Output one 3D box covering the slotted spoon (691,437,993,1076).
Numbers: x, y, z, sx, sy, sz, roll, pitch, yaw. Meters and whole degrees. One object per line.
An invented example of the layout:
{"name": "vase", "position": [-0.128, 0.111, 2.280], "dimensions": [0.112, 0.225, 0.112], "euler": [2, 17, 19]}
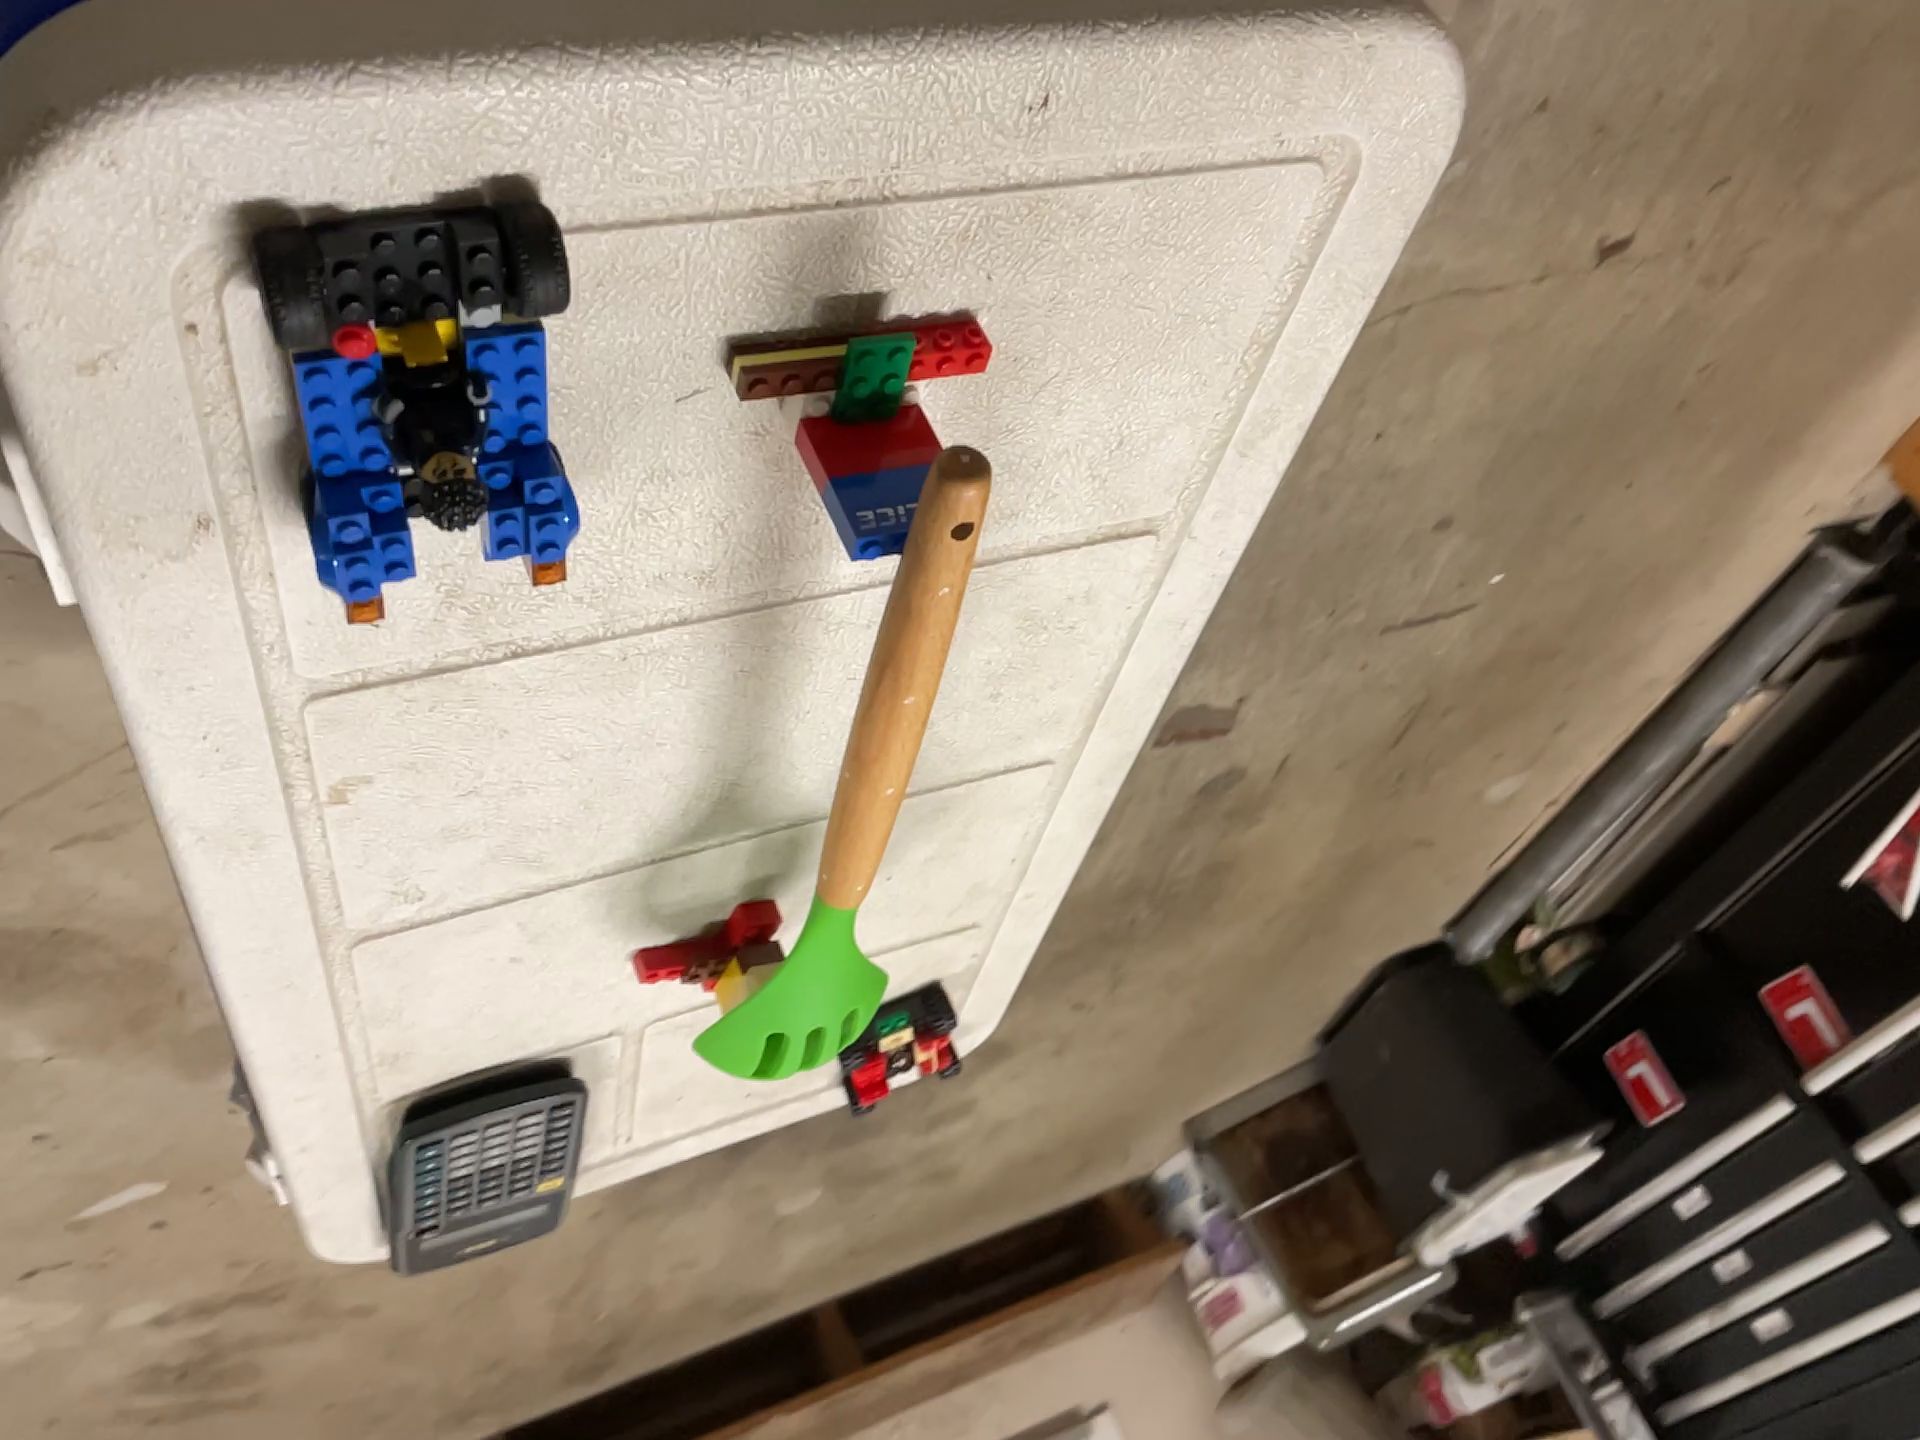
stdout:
{"name": "slotted spoon", "position": [-0.032, 0.035, 0.455], "dimensions": [0.070, 0.031, 0.313], "euler": [-13, 149, -23]}
